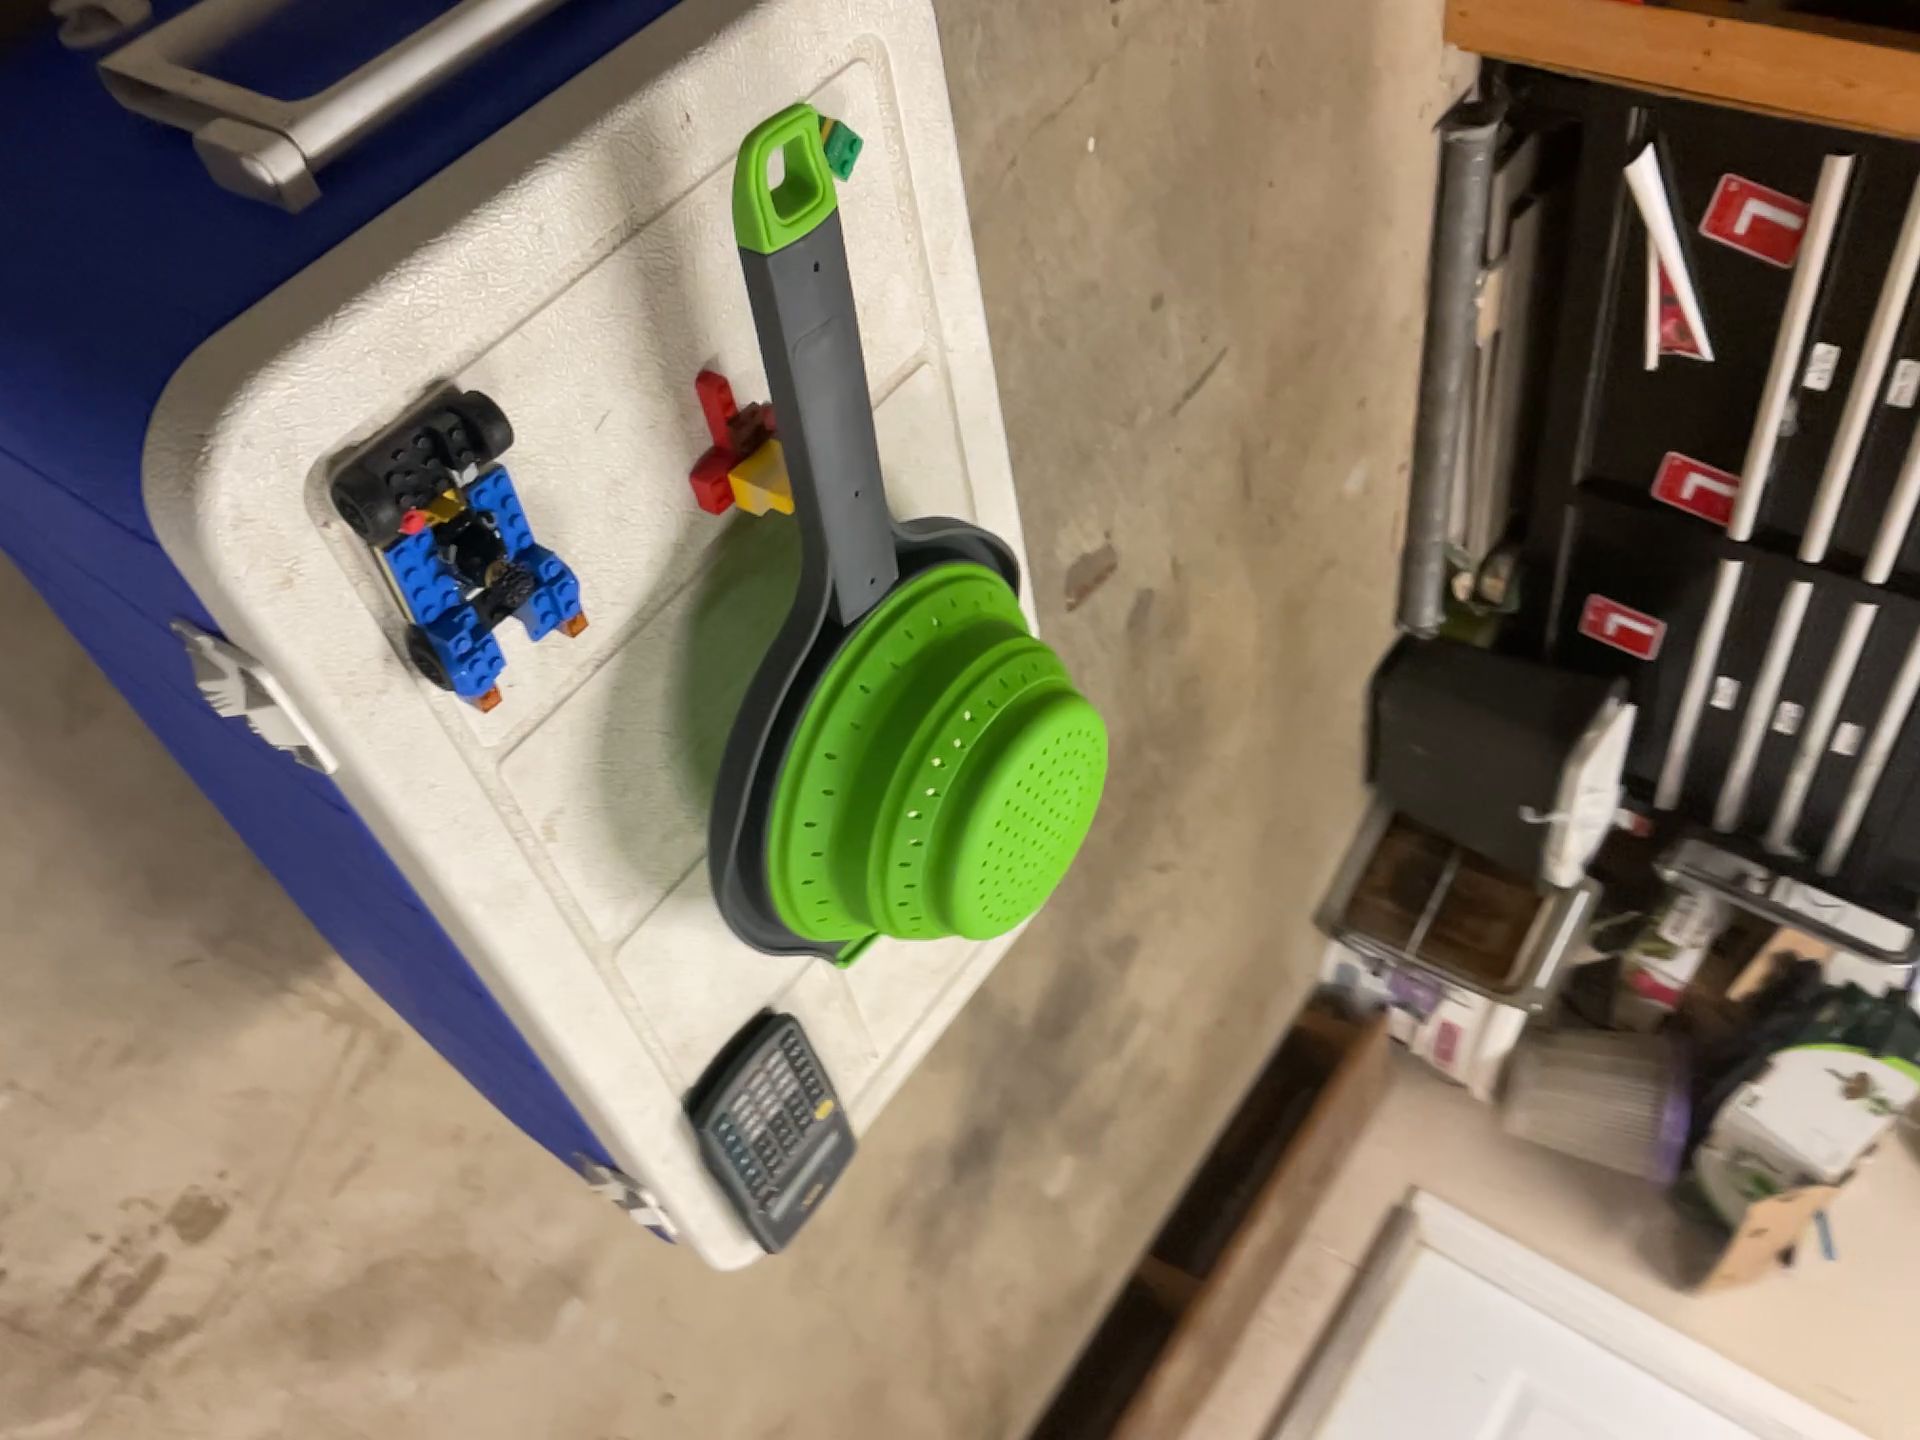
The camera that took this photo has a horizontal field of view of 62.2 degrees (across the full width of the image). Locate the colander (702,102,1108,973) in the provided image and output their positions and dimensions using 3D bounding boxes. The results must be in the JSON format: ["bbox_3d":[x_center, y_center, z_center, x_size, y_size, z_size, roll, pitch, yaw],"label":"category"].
[{"bbox_3d":[-0.011,-0.031,0.602,0.205,0.094,0.396,-46,147,-31],"label":"colander"}]
